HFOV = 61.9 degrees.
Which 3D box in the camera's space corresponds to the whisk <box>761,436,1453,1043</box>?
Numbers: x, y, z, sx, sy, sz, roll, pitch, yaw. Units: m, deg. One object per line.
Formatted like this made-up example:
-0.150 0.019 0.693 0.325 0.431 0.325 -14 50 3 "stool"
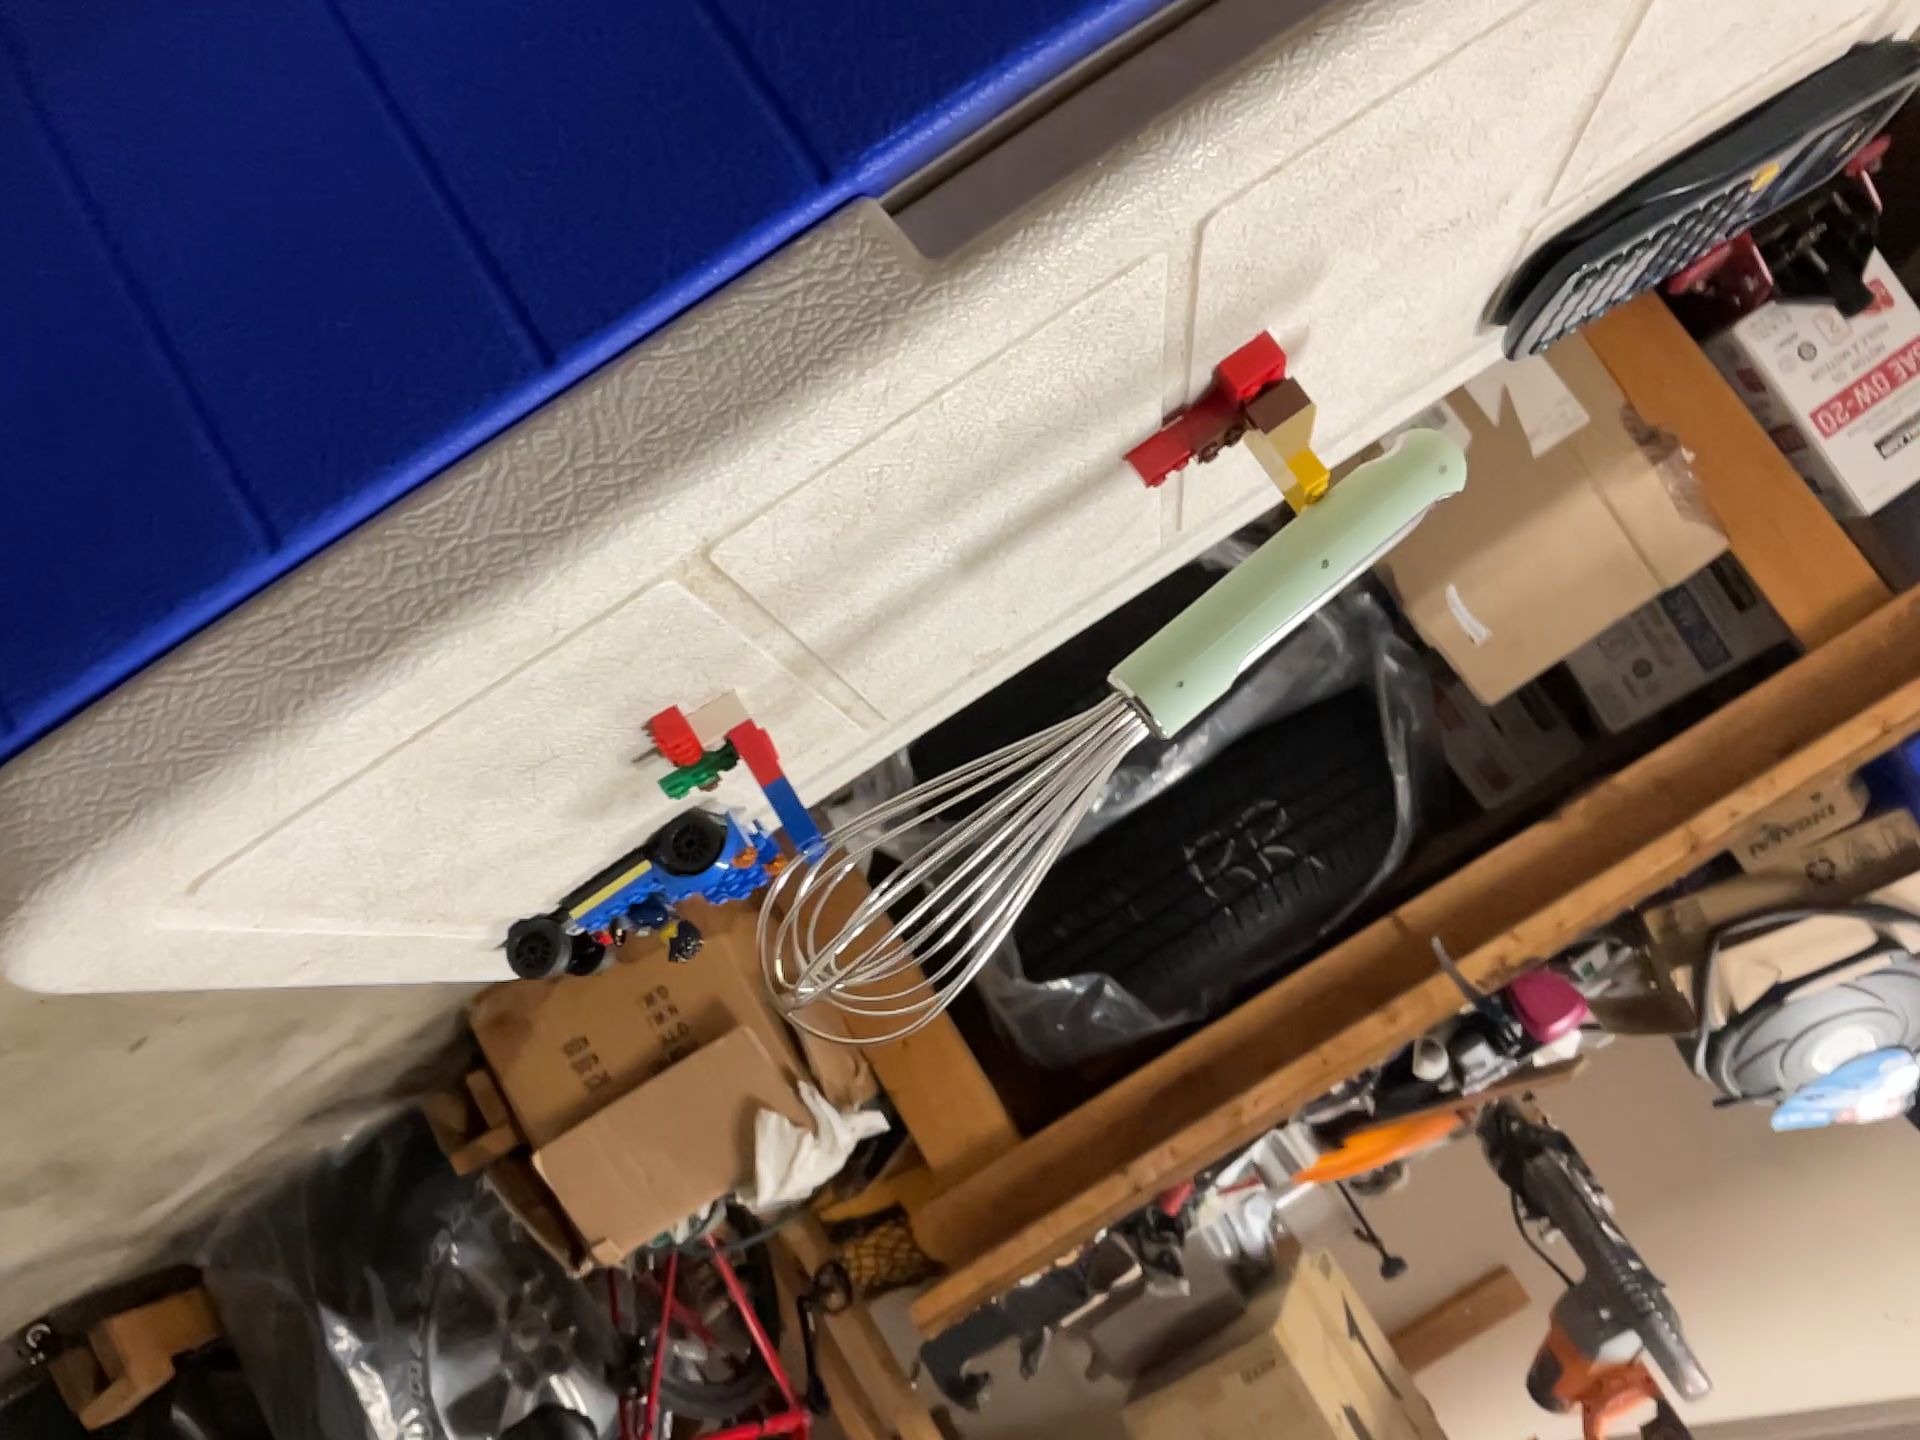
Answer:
0.044 0.002 0.457 0.246 0.059 0.058 -40 176 -2 "whisk"
